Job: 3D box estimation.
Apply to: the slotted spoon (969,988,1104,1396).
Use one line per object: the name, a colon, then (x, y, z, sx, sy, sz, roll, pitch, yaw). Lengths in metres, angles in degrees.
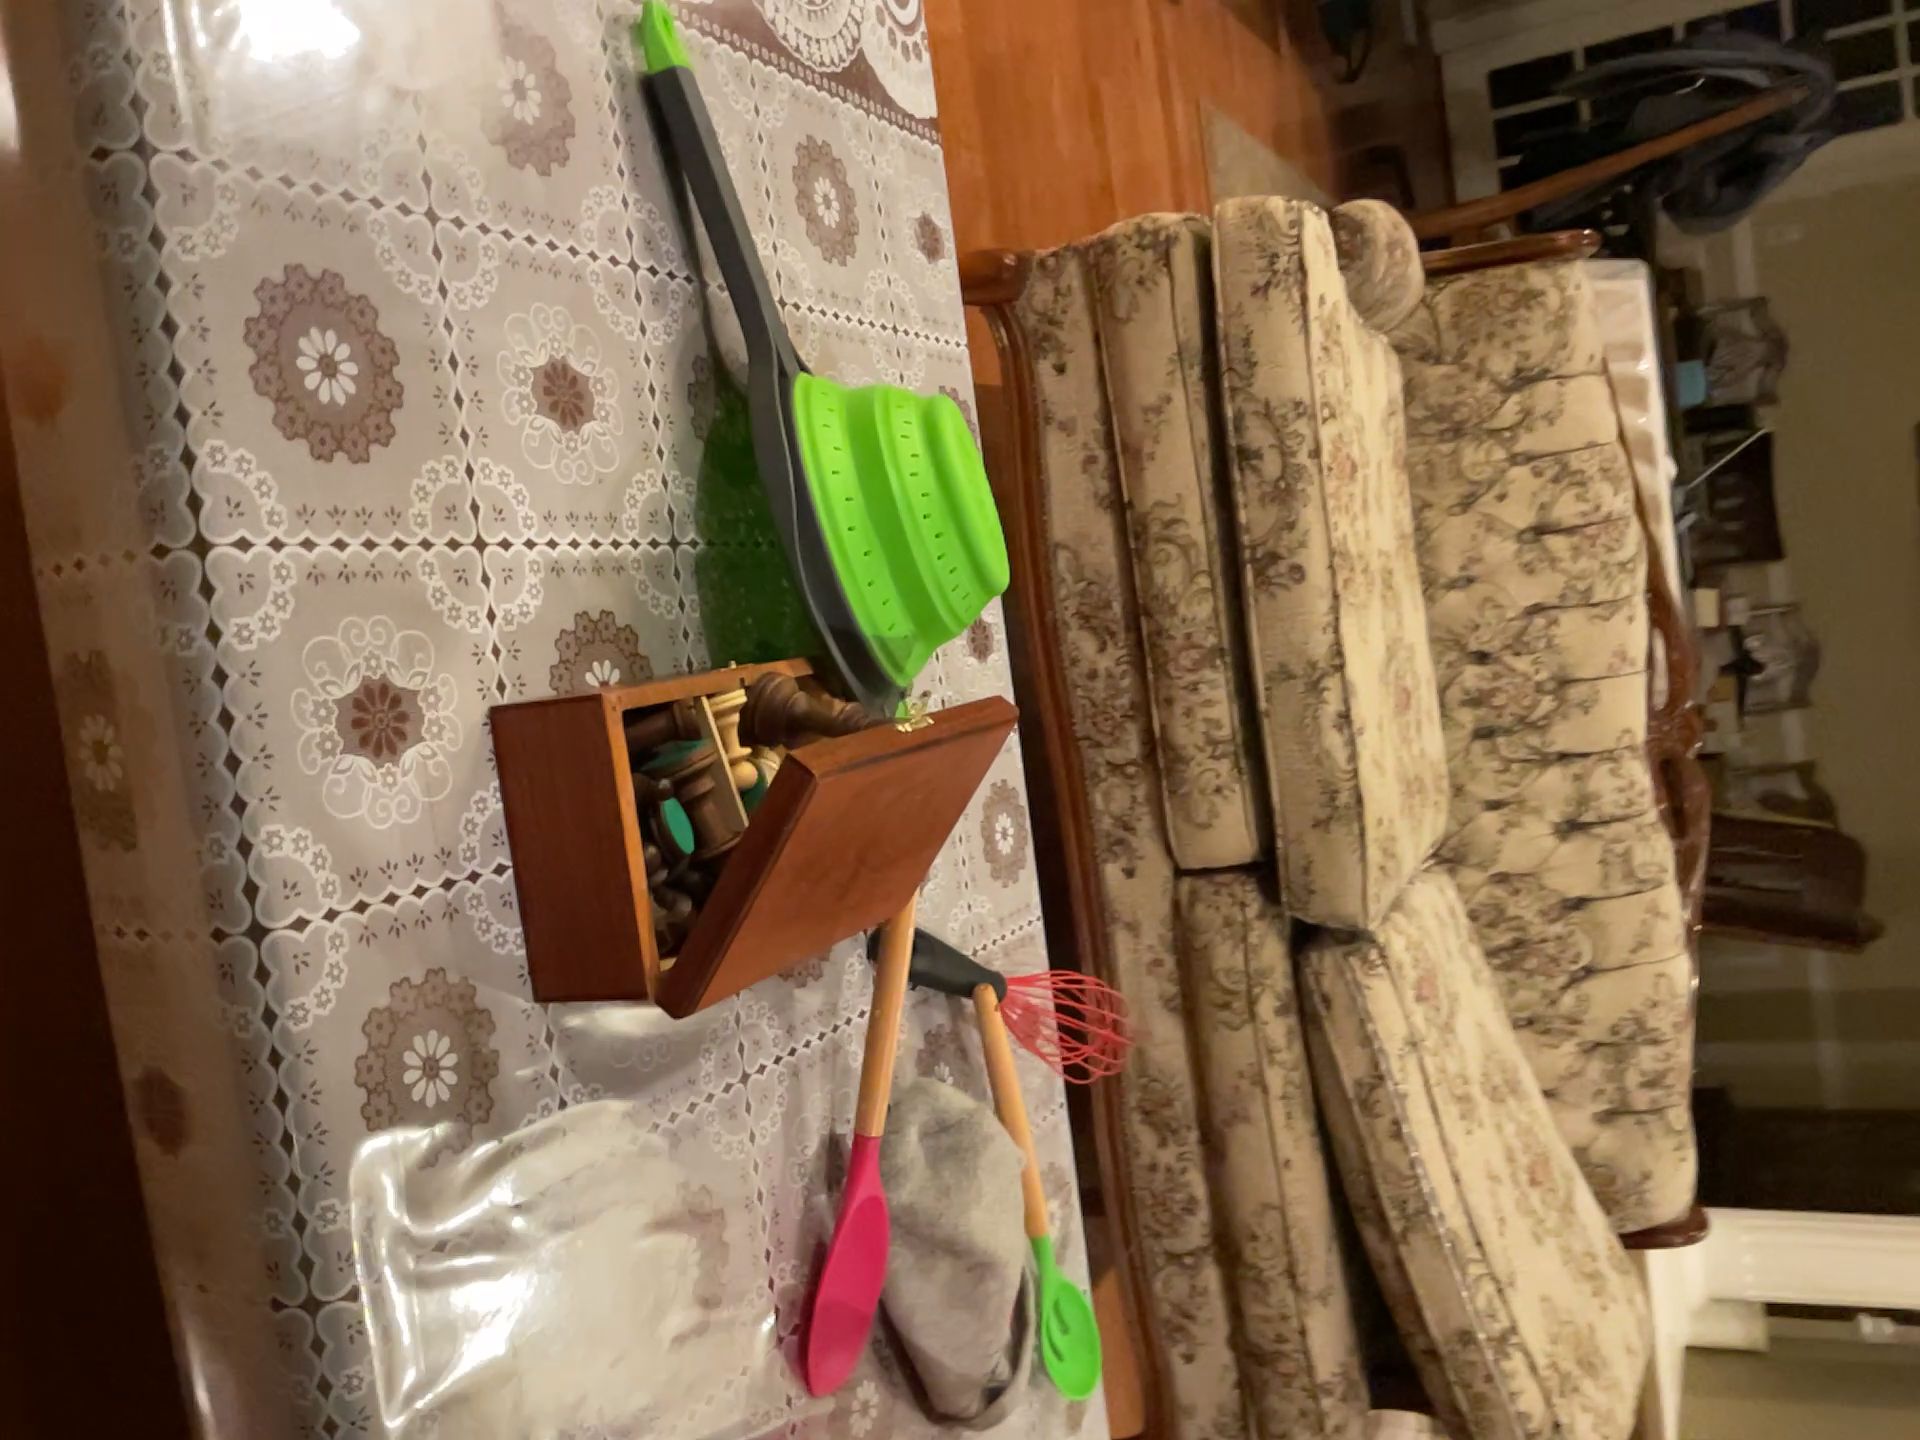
slotted spoon: (0.046, 0.307, 1.027, 0.070, 0.031, 0.313, -48, 130, -55)

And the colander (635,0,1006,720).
colander: (-0.060, -0.183, 0.821, 0.204, 0.094, 0.397, -67, 139, -76)

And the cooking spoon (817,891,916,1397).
cooking spoon: (-0.045, 0.195, 0.844, 0.068, 0.017, 0.319, 12, 85, -64)

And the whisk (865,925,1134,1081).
whisk: (0.031, 0.178, 1.021, 0.295, 0.073, 0.073, 33, 62, -49)
